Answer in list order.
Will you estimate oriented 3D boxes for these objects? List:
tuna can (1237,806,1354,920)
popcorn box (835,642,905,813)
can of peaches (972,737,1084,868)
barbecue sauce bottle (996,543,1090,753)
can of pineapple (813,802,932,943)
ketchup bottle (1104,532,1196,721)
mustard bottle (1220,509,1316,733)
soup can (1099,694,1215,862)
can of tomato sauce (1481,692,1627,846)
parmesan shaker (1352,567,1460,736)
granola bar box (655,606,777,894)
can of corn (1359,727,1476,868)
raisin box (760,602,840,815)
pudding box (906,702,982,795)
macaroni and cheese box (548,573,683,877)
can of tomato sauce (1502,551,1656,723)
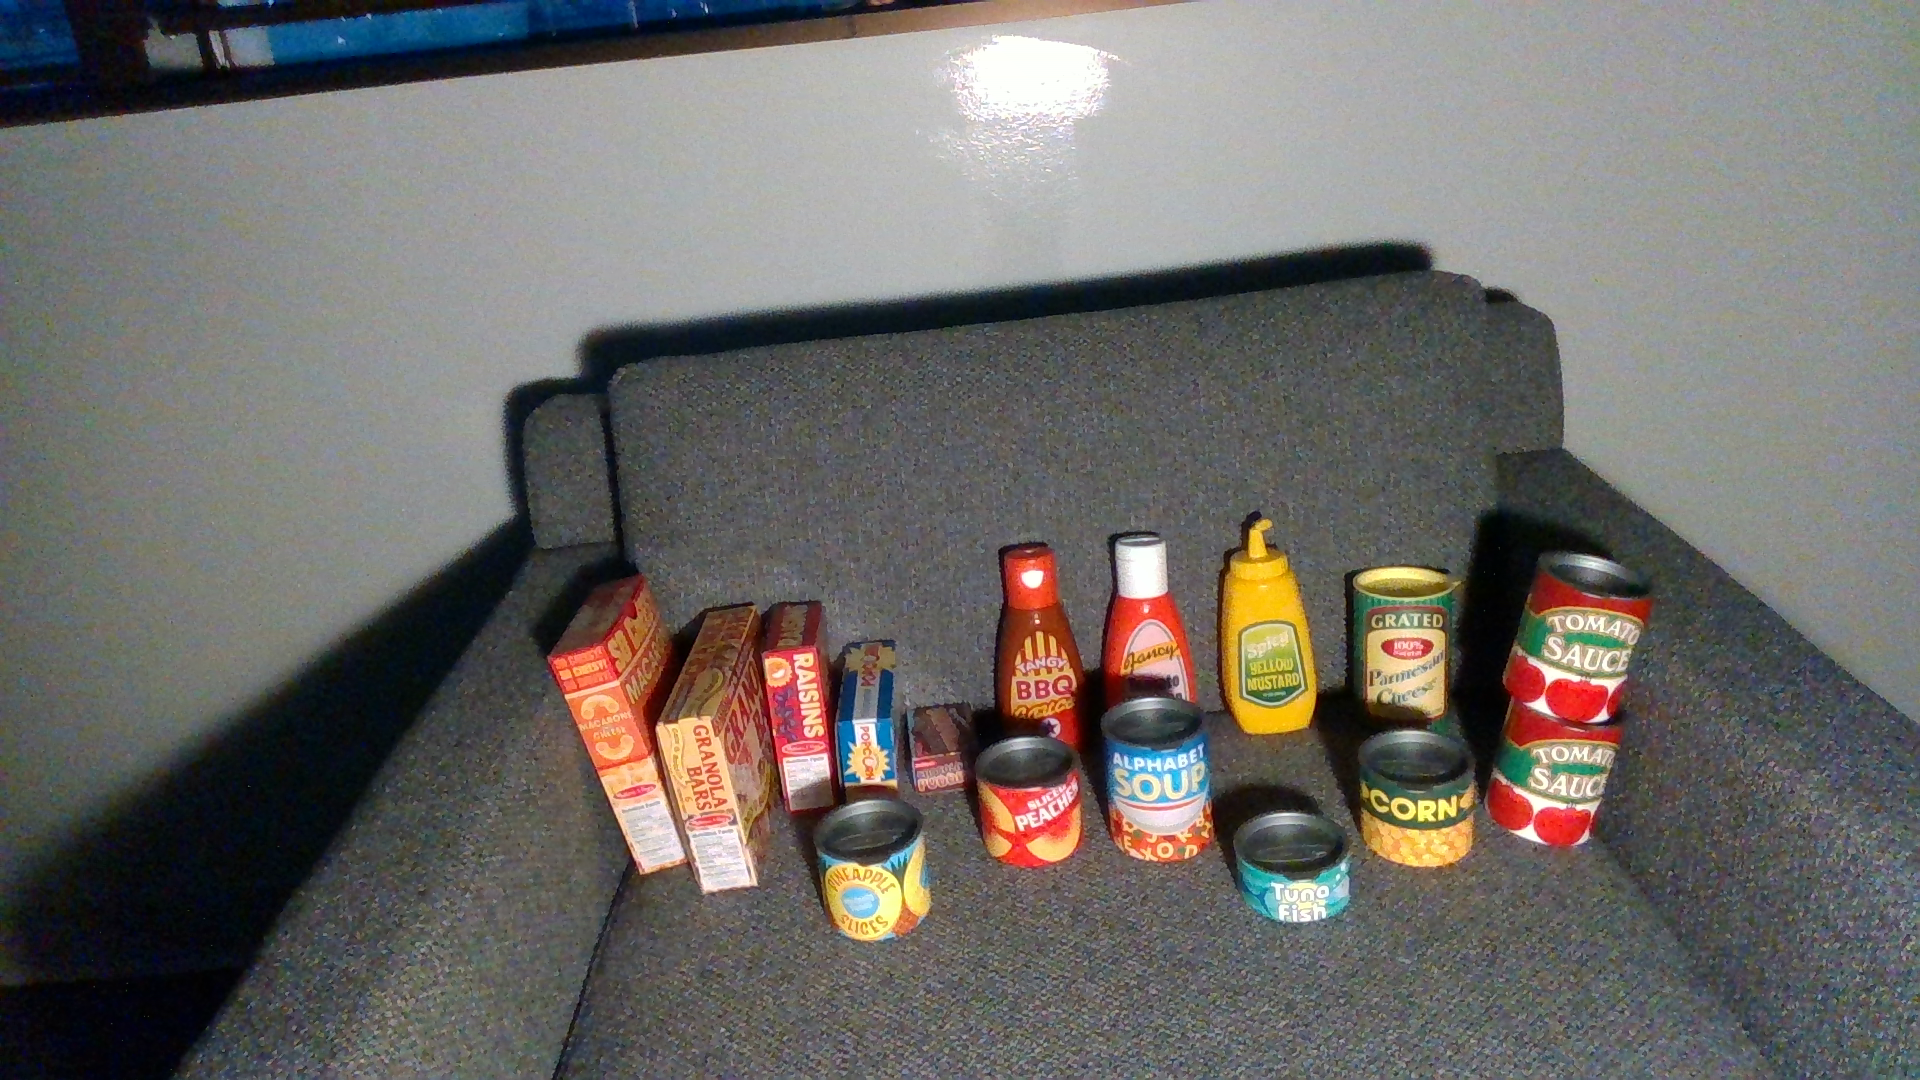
[{"bbox_3d":[0.195,0.188,0.804,0.071,0.032,0.071,-7,25,3],"label":"tuna can"},{"bbox_3d":[-0.060,0.133,0.953,0.038,0.085,0.127,-5,19,1],"label":"popcorn box"},{"bbox_3d":[0.045,0.166,0.877,0.071,0.057,0.071,-6,20,2],"label":"can of peaches"},{"bbox_3d":[0.055,0.078,0.982,0.065,0.148,0.044,-7,15,-4],"label":"barbecue sauce bottle"},{"bbox_3d":[-0.052,0.198,0.827,0.071,0.057,0.071,-6,18,2],"label":"can of pineapple"},{"bbox_3d":[0.132,0.069,0.982,0.065,0.148,0.043,-6,15,-3],"label":"ketchup bottle"},{"bbox_3d":[0.213,0.056,0.979,0.065,0.159,0.049,-9,15,5],"label":"mustard bottle"},{"bbox_3d":[0.124,0.149,0.863,0.071,0.083,0.071,-7,19,2],"label":"soup can"},{"bbox_3d":[0.362,0.135,0.848,0.071,0.082,0.071,6,20,-2],"label":"can of tomato sauce"},{"bbox_3d":[0.313,0.078,0.972,0.071,0.102,0.071,-5,17,2],"label":"parmesan shaker"},{"bbox_3d":[-0.154,0.135,0.927,0.039,0.123,0.166,-9,21,5],"label":"granola bar box"},{"bbox_3d":[0.274,0.156,0.835,0.071,0.058,0.071,-6,23,2],"label":"can of corn"},{"bbox_3d":[-0.109,0.115,0.966,0.040,0.123,0.086,-6,16,0],"label":"raisin box"},{"bbox_3d":[-0.011,0.147,0.982,0.050,0.030,0.084,-8,17,-2],"label":"pudding box"},{"bbox_3d":[-0.214,0.121,0.942,0.040,0.166,0.124,-15,19,6],"label":"macaroni and cheese box"},{"bbox_3d":[0.364,0.058,0.821,0.071,0.082,0.071,6,22,-2],"label":"can of tomato sauce"}]
